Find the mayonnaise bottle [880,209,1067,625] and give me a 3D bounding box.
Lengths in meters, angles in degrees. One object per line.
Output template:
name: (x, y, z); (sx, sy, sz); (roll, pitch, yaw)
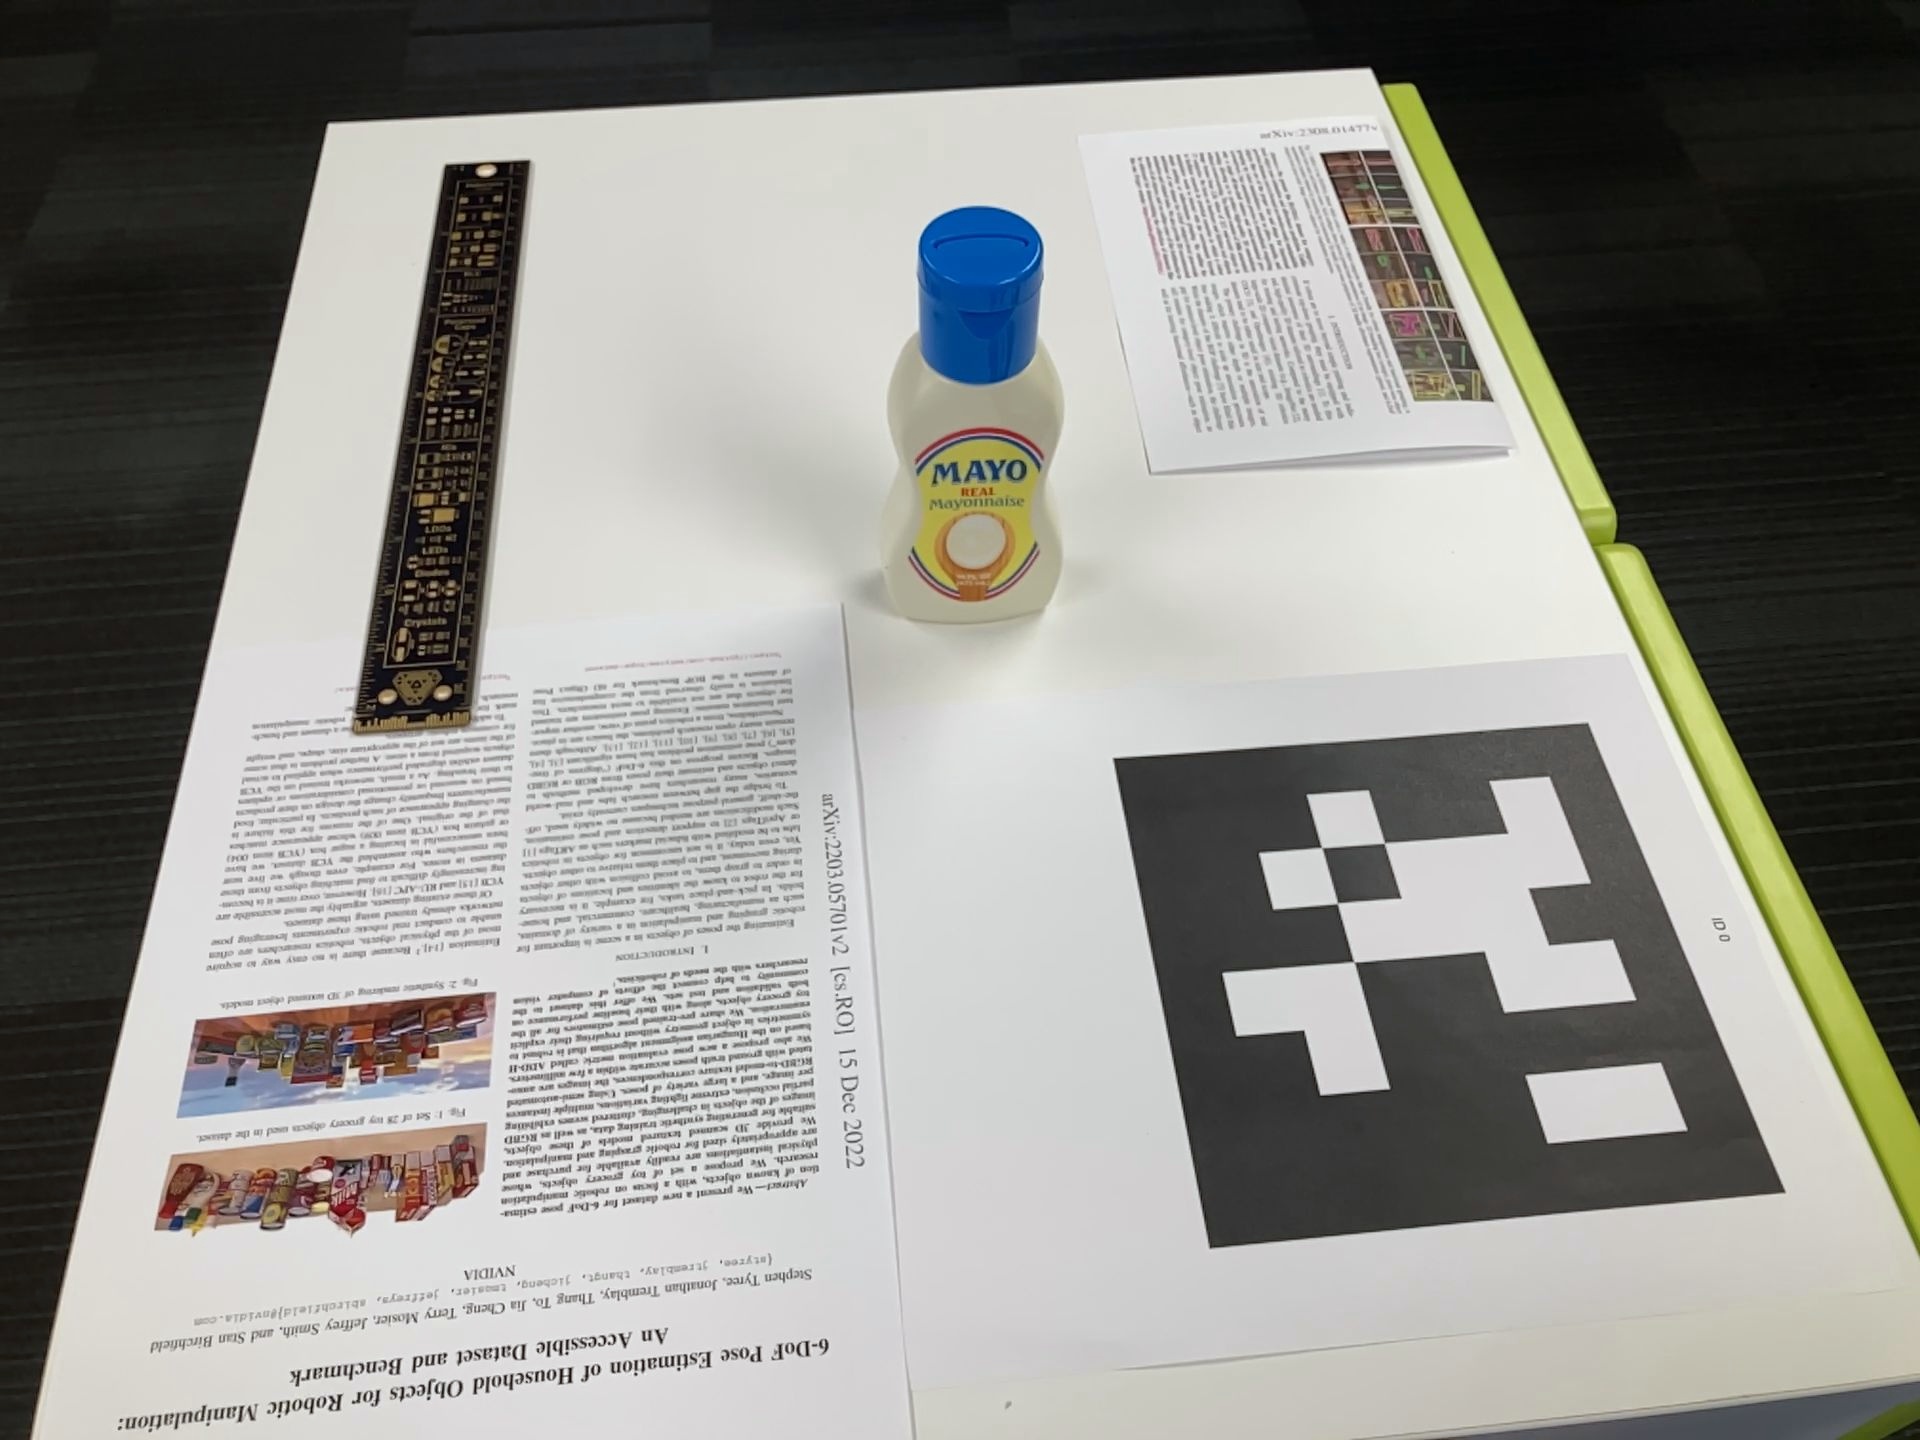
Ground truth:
mayonnaise bottle: (0.005, -0.091, 0.510); (0.065, 0.148, 0.041); (-4, 54, -4)
